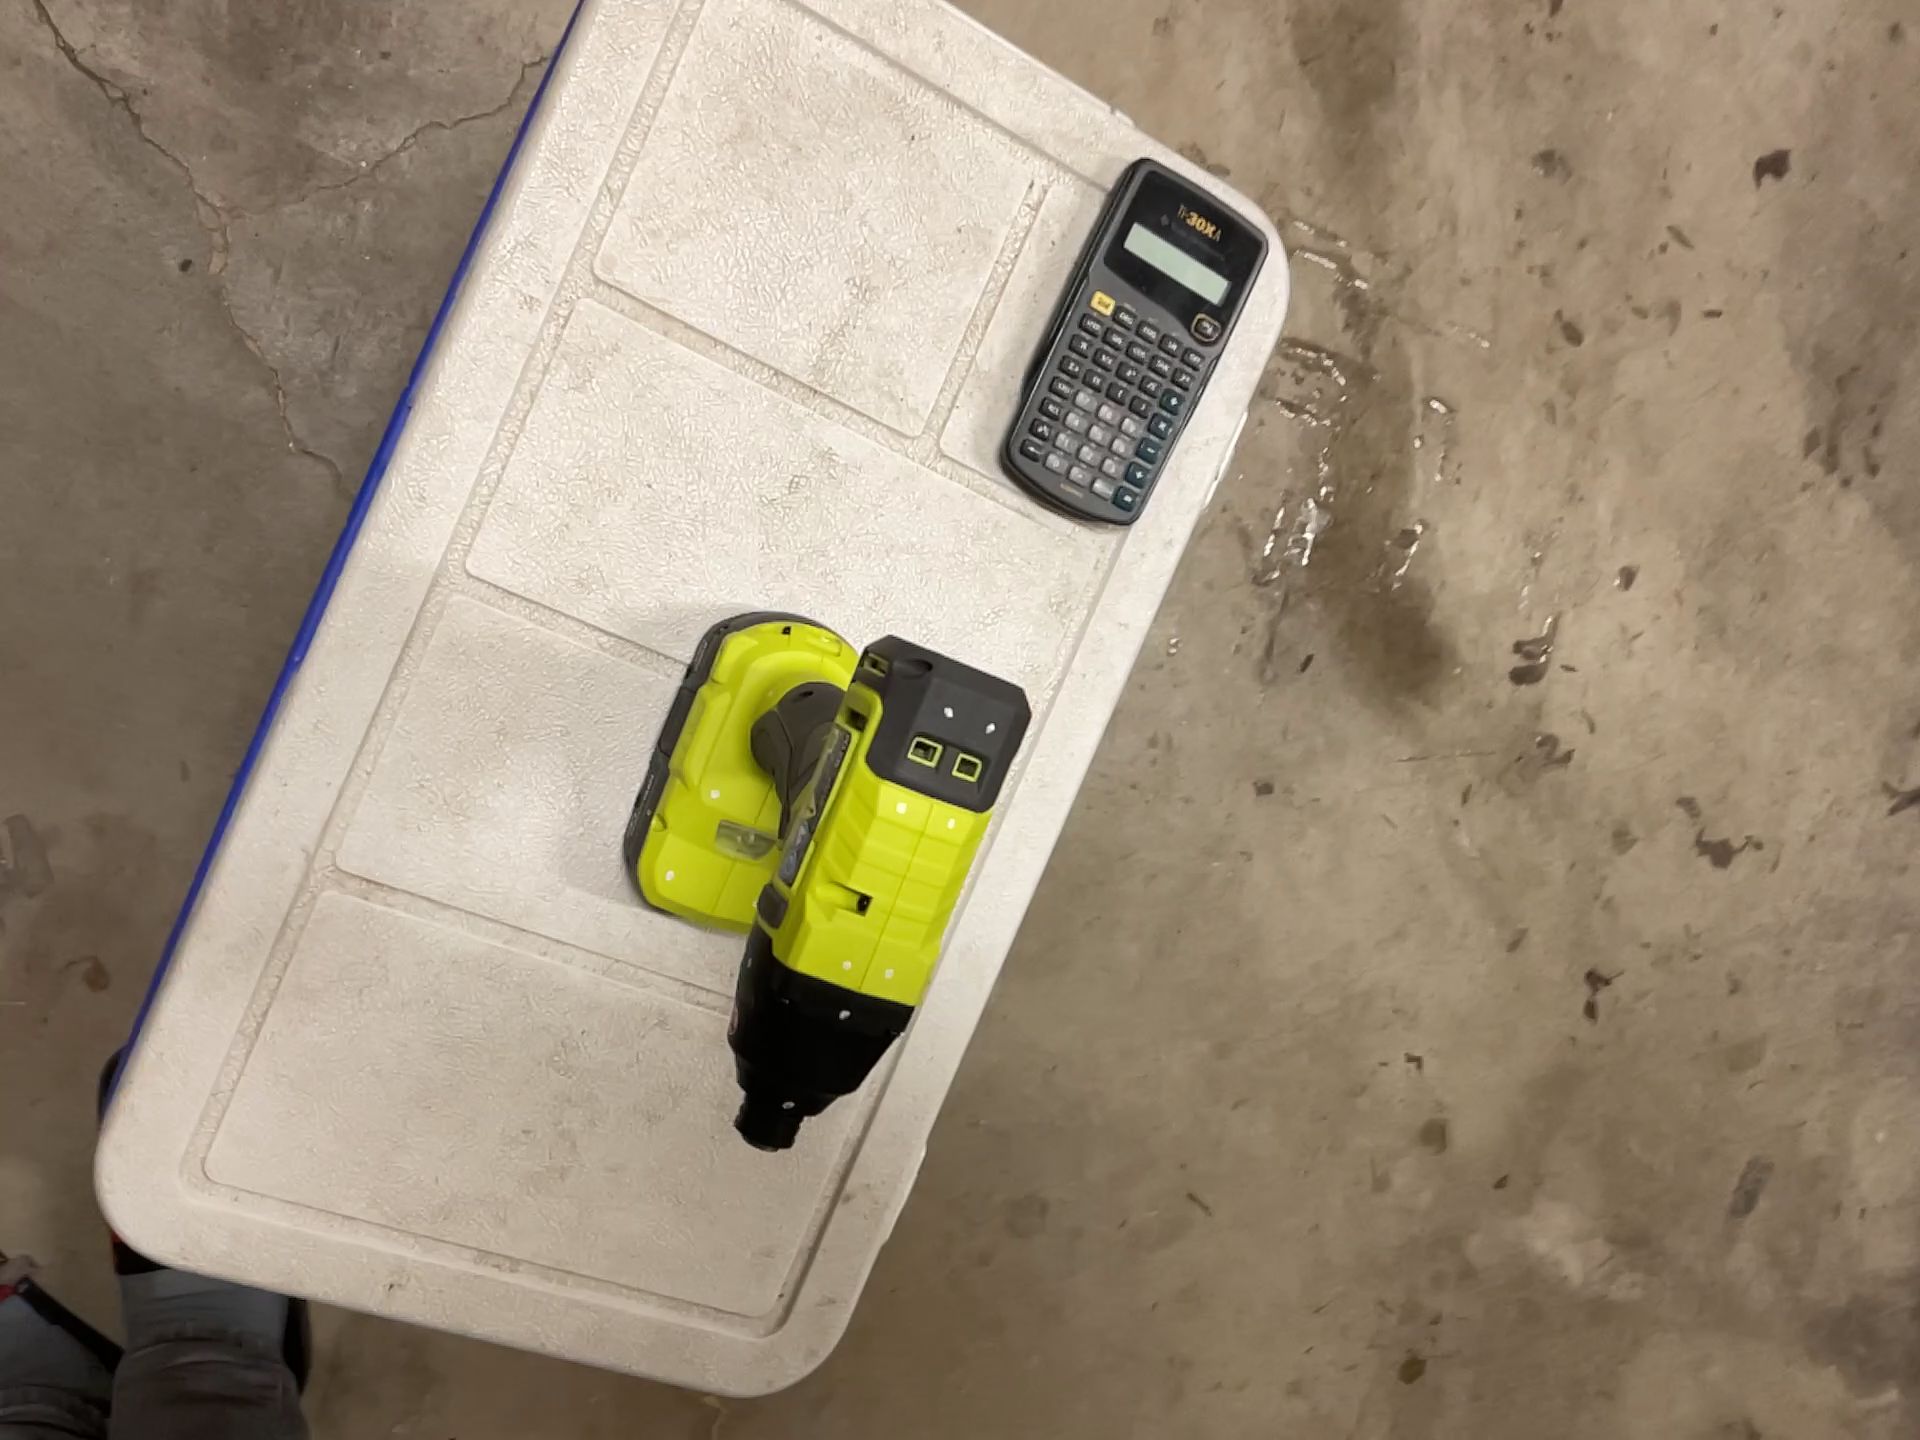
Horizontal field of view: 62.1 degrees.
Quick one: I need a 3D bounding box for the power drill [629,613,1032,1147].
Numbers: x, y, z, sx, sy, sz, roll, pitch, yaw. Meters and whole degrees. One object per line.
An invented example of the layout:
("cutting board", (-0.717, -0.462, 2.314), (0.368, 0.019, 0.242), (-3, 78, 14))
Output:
("power drill", (-0.061, 0.044, 0.603), (0.080, 0.223, 0.171), (21, 93, -21))
